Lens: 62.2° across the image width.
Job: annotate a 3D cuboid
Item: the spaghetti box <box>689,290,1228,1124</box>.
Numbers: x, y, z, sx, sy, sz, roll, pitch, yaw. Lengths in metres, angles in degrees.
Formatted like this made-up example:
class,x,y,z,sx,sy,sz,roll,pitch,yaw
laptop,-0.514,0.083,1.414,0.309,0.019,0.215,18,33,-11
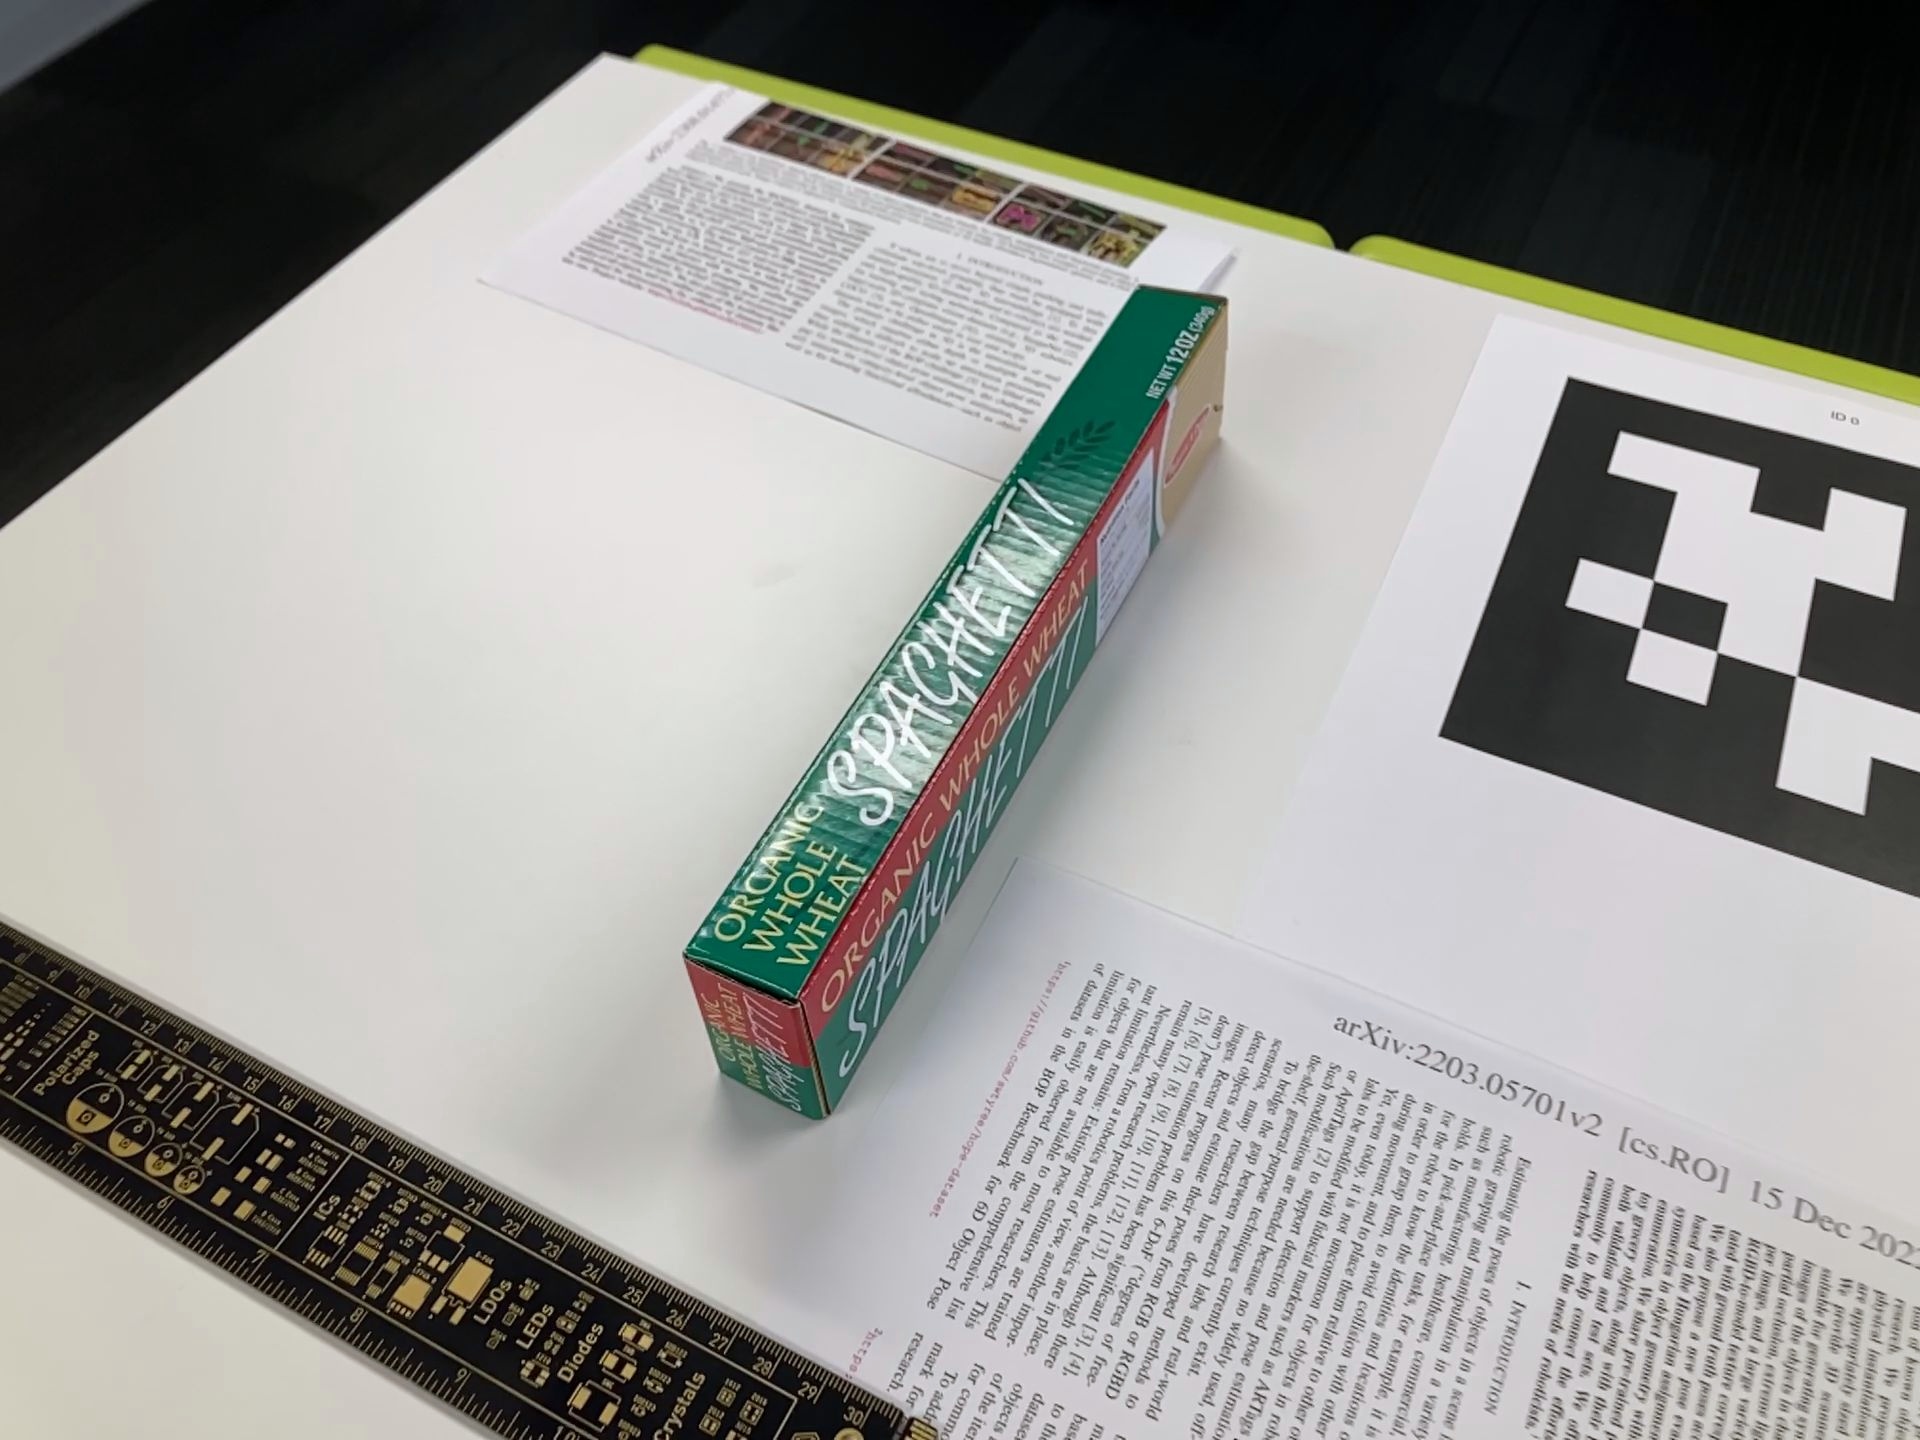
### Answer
class,x,y,z,sx,sy,sz,roll,pitch,yaw
spaghetti box,0.012,-0.019,0.399,0.028,0.050,0.250,18,53,20
